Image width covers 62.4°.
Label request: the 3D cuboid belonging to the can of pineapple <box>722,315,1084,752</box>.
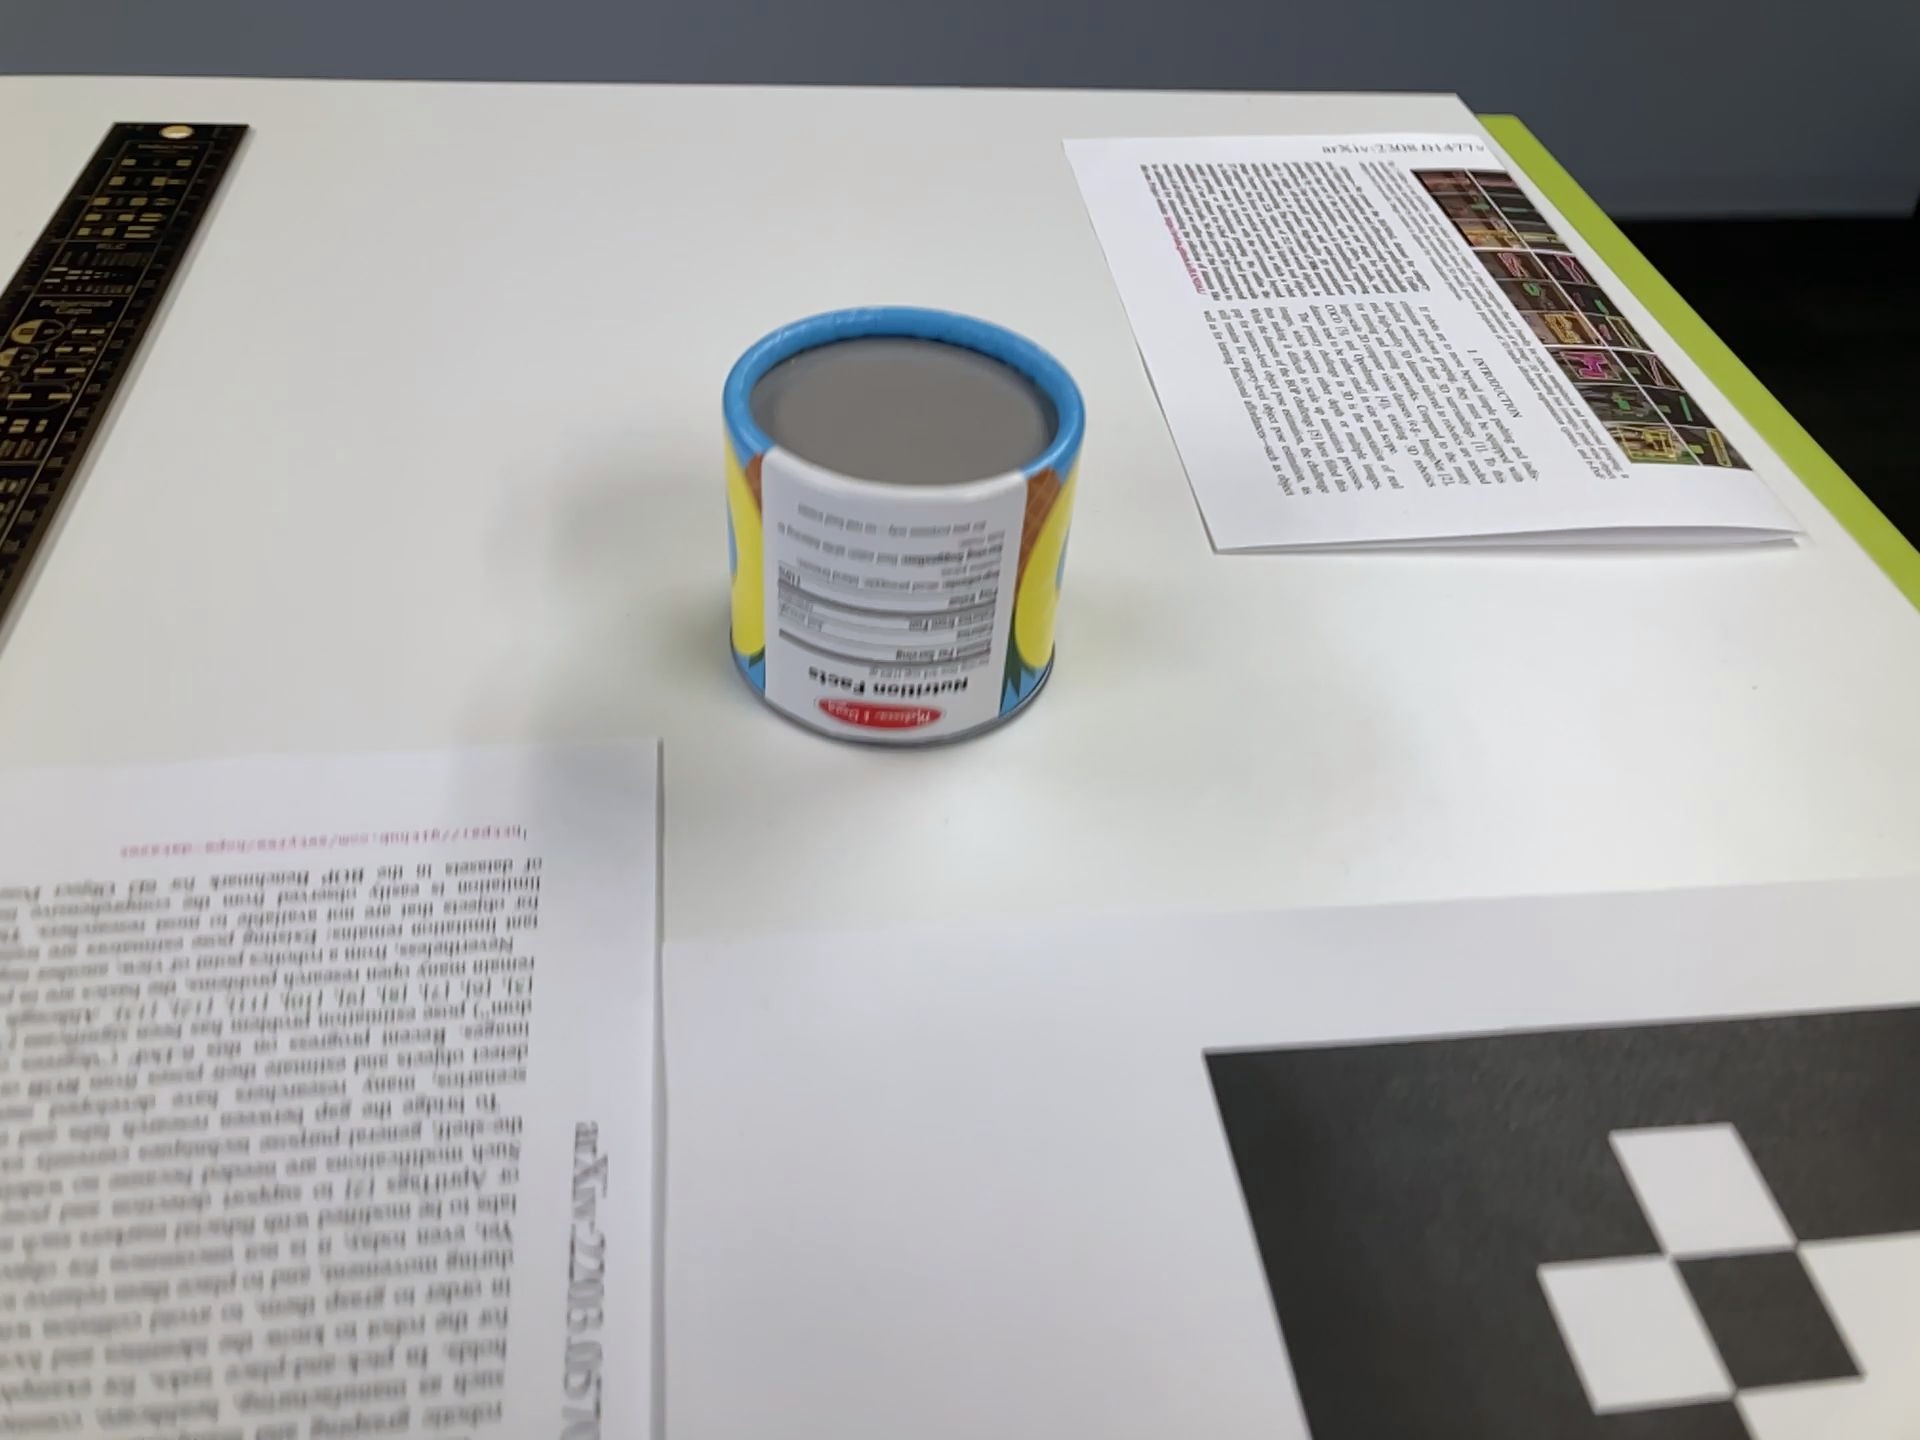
[{"bbox_3d":[-0.012,-0.038,0.305,0.071,0.058,0.071,3,42,-3],"label":"can of pineapple"}]
